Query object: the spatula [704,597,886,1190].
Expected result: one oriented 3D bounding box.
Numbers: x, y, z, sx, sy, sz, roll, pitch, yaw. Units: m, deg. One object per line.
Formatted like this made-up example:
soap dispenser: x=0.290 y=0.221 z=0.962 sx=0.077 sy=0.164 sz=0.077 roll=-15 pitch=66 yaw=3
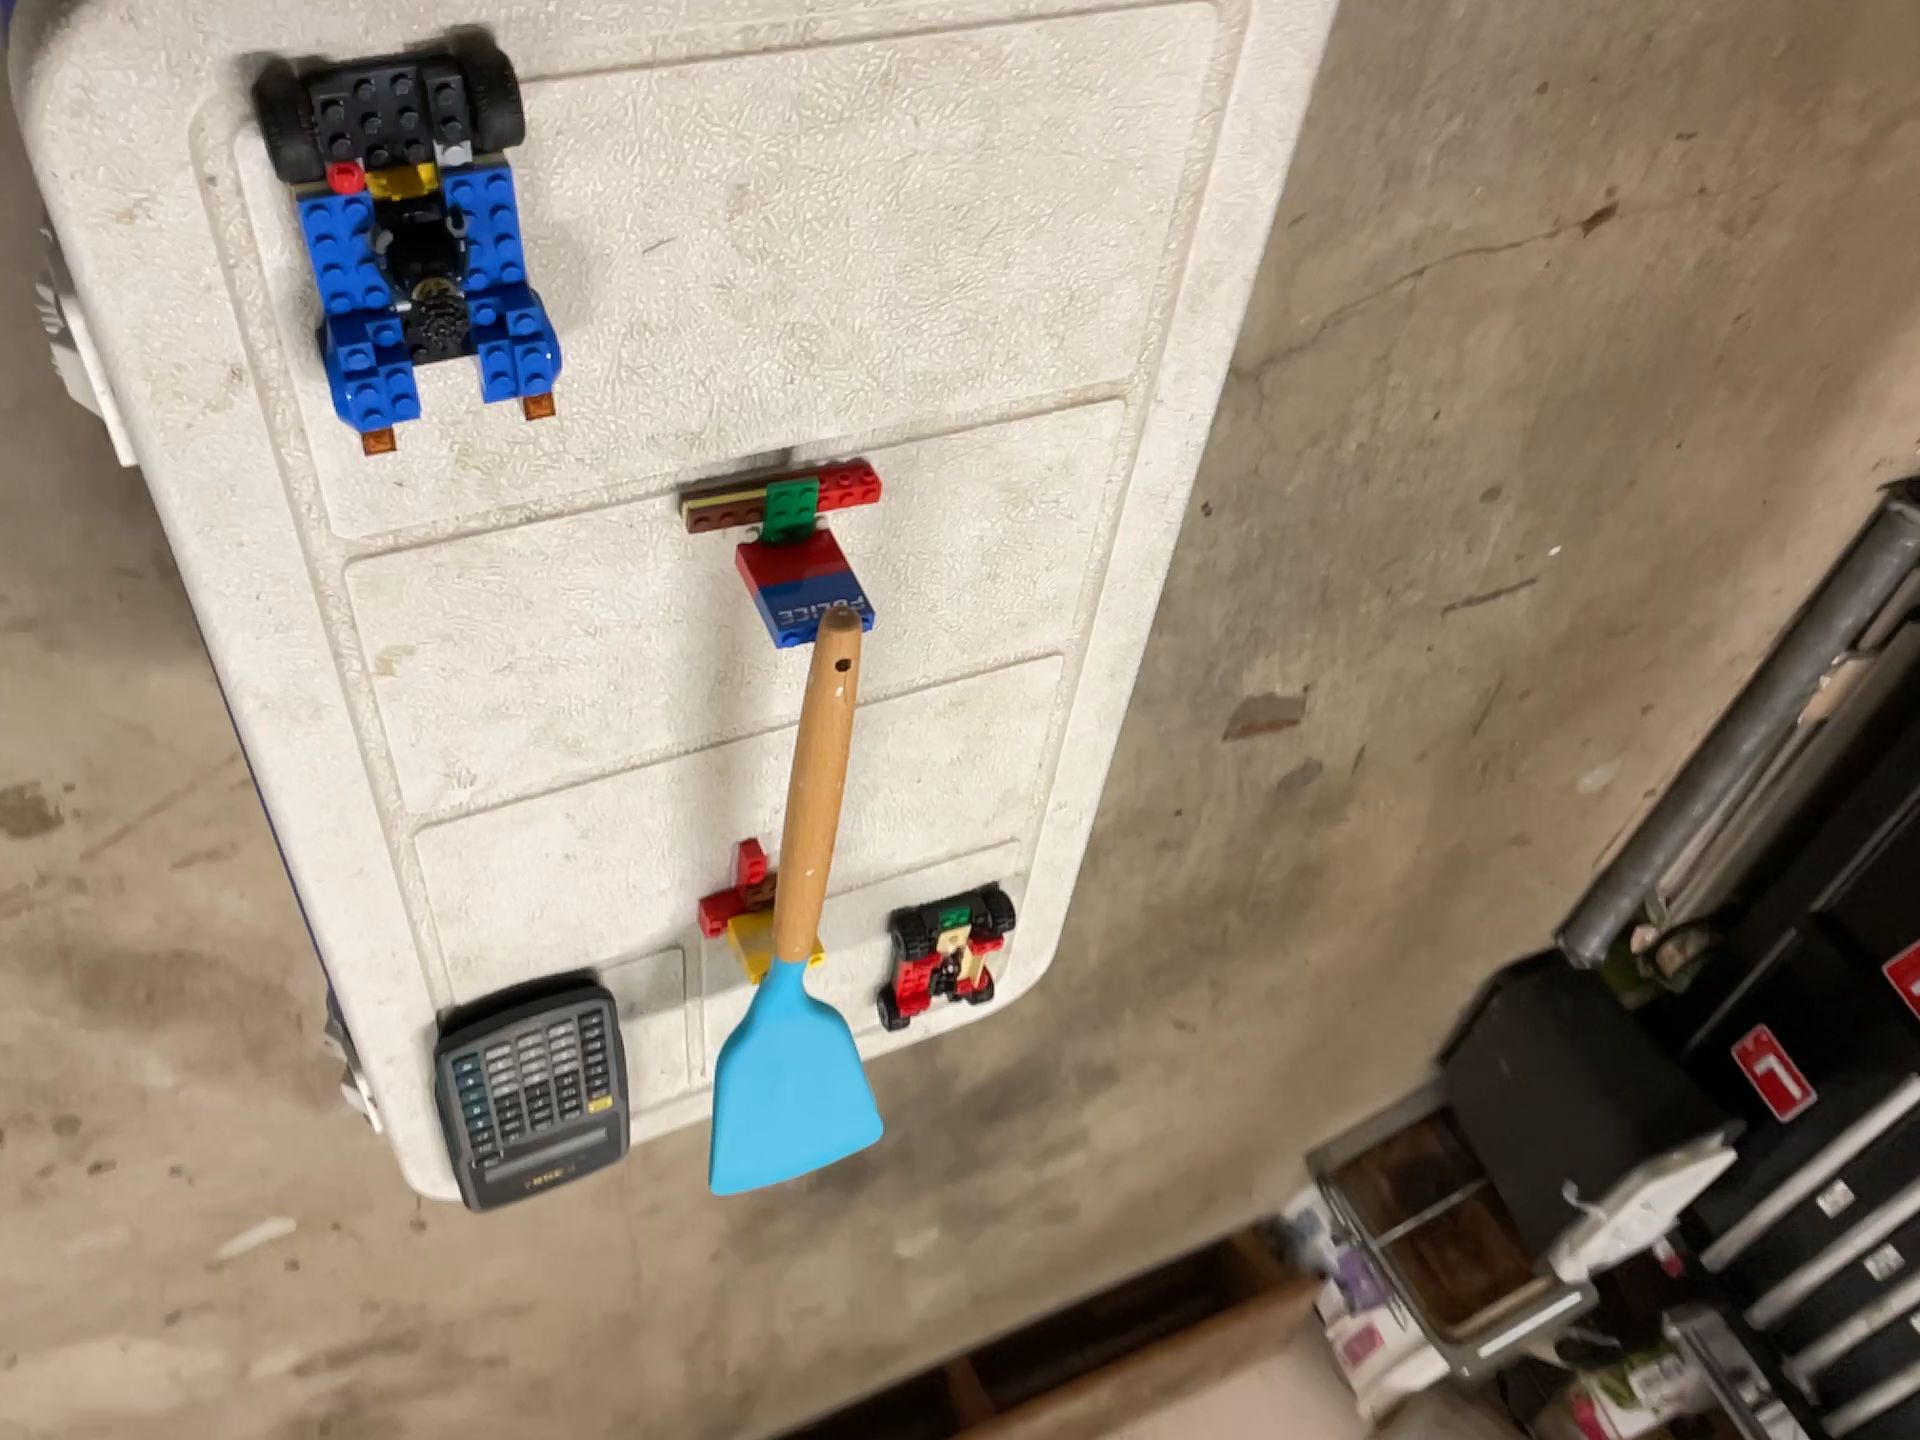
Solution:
spatula: x=-0.055 y=0.076 z=0.584 sx=0.082 sy=0.044 sz=0.317 roll=-12 pitch=143 yaw=-21
